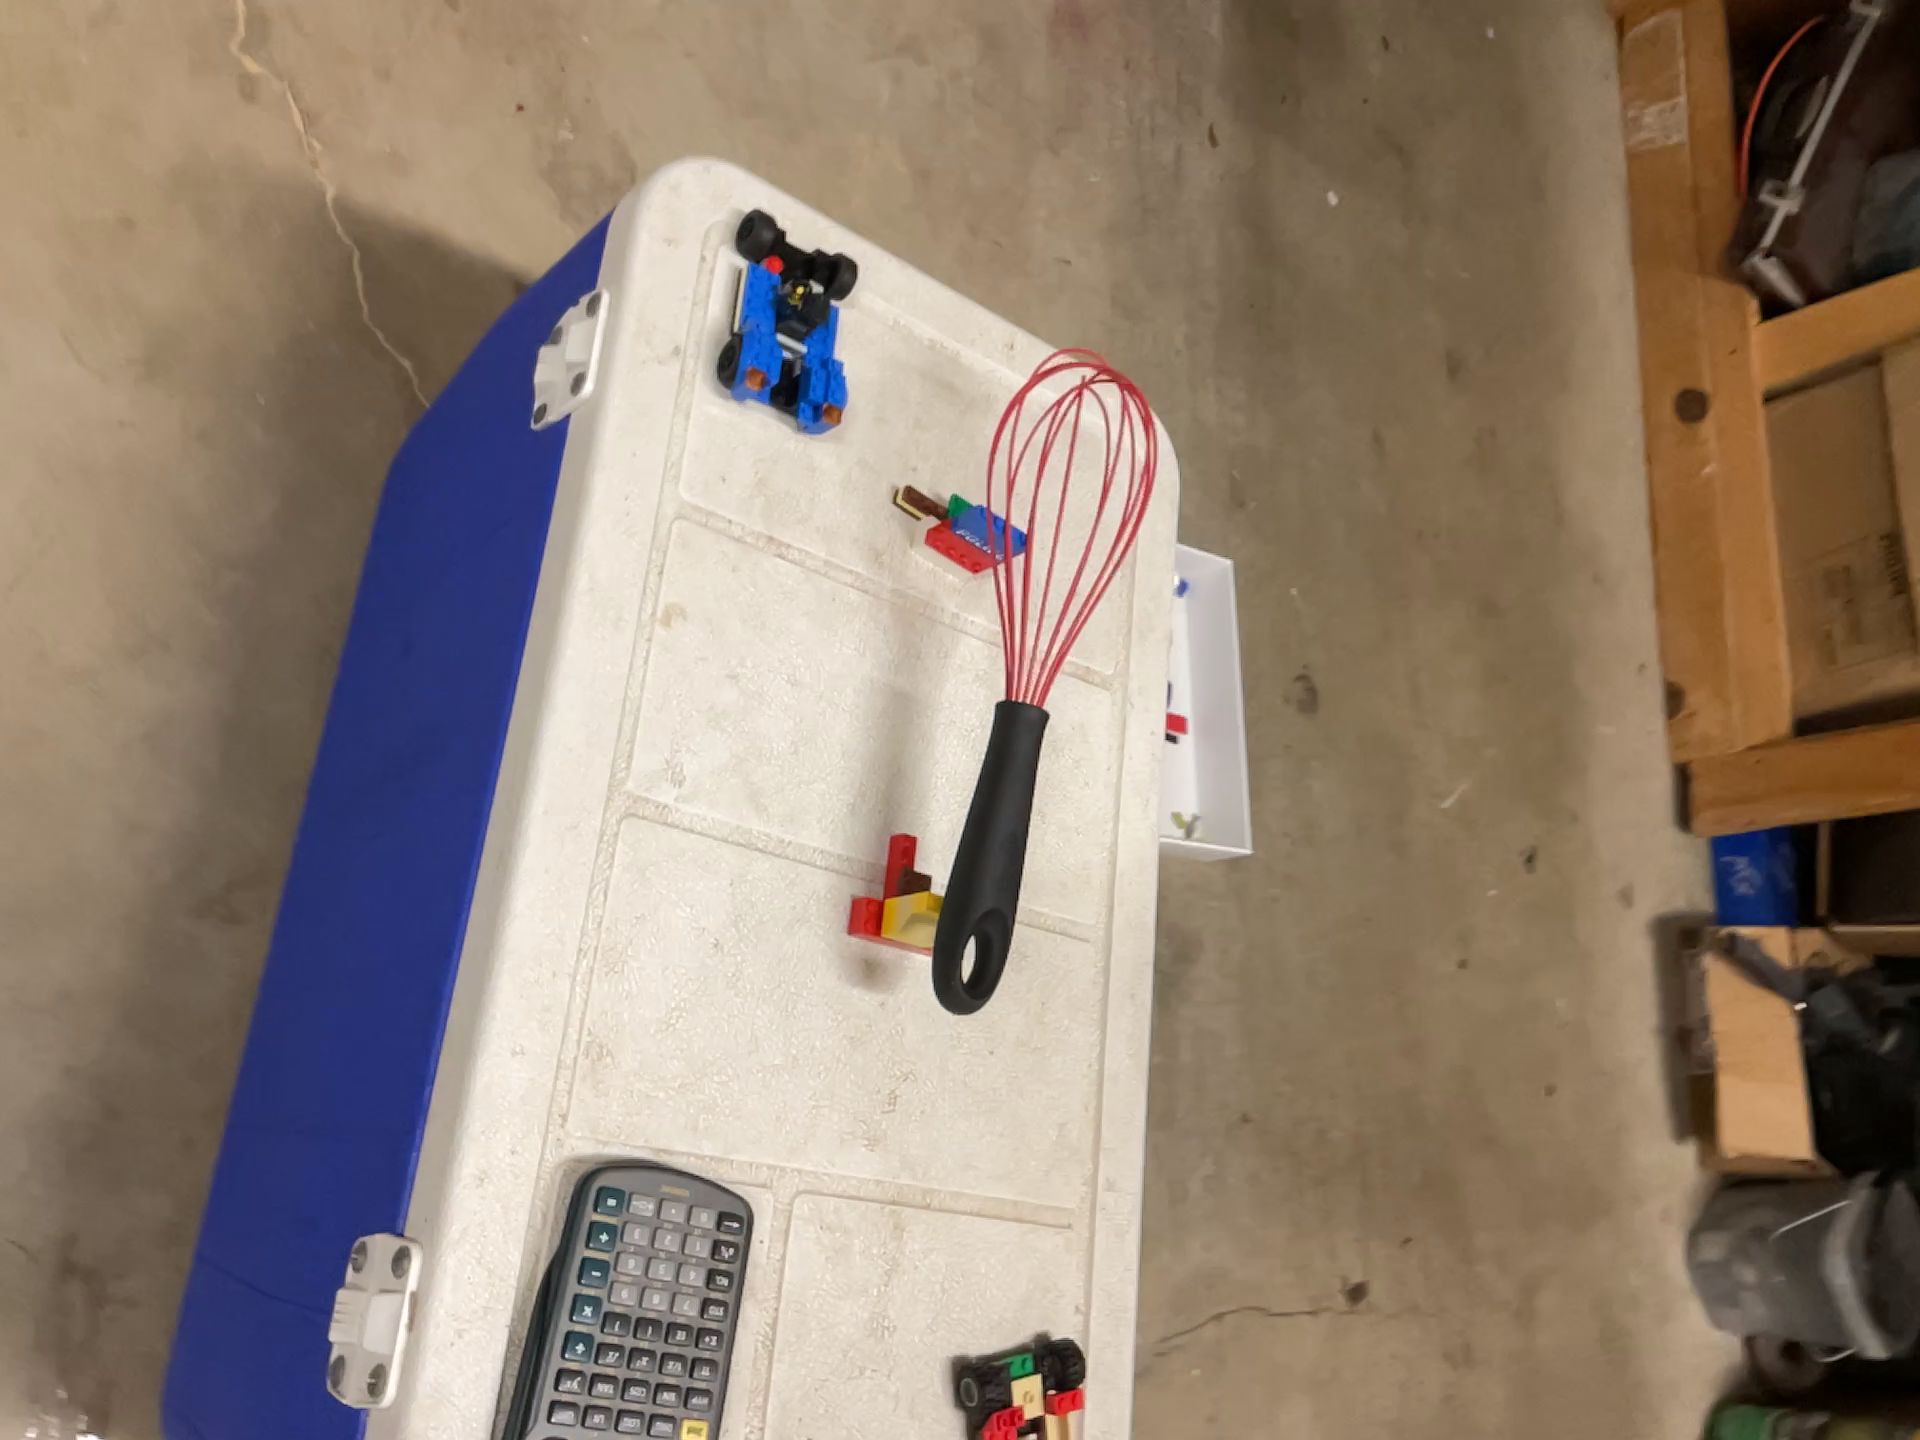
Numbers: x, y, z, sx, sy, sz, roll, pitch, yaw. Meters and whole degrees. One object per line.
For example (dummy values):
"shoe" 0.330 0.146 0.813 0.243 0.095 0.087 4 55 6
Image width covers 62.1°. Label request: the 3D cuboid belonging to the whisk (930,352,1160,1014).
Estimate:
"whisk" 0.031 -0.022 0.677 0.073 0.073 0.296 24 72 -37
